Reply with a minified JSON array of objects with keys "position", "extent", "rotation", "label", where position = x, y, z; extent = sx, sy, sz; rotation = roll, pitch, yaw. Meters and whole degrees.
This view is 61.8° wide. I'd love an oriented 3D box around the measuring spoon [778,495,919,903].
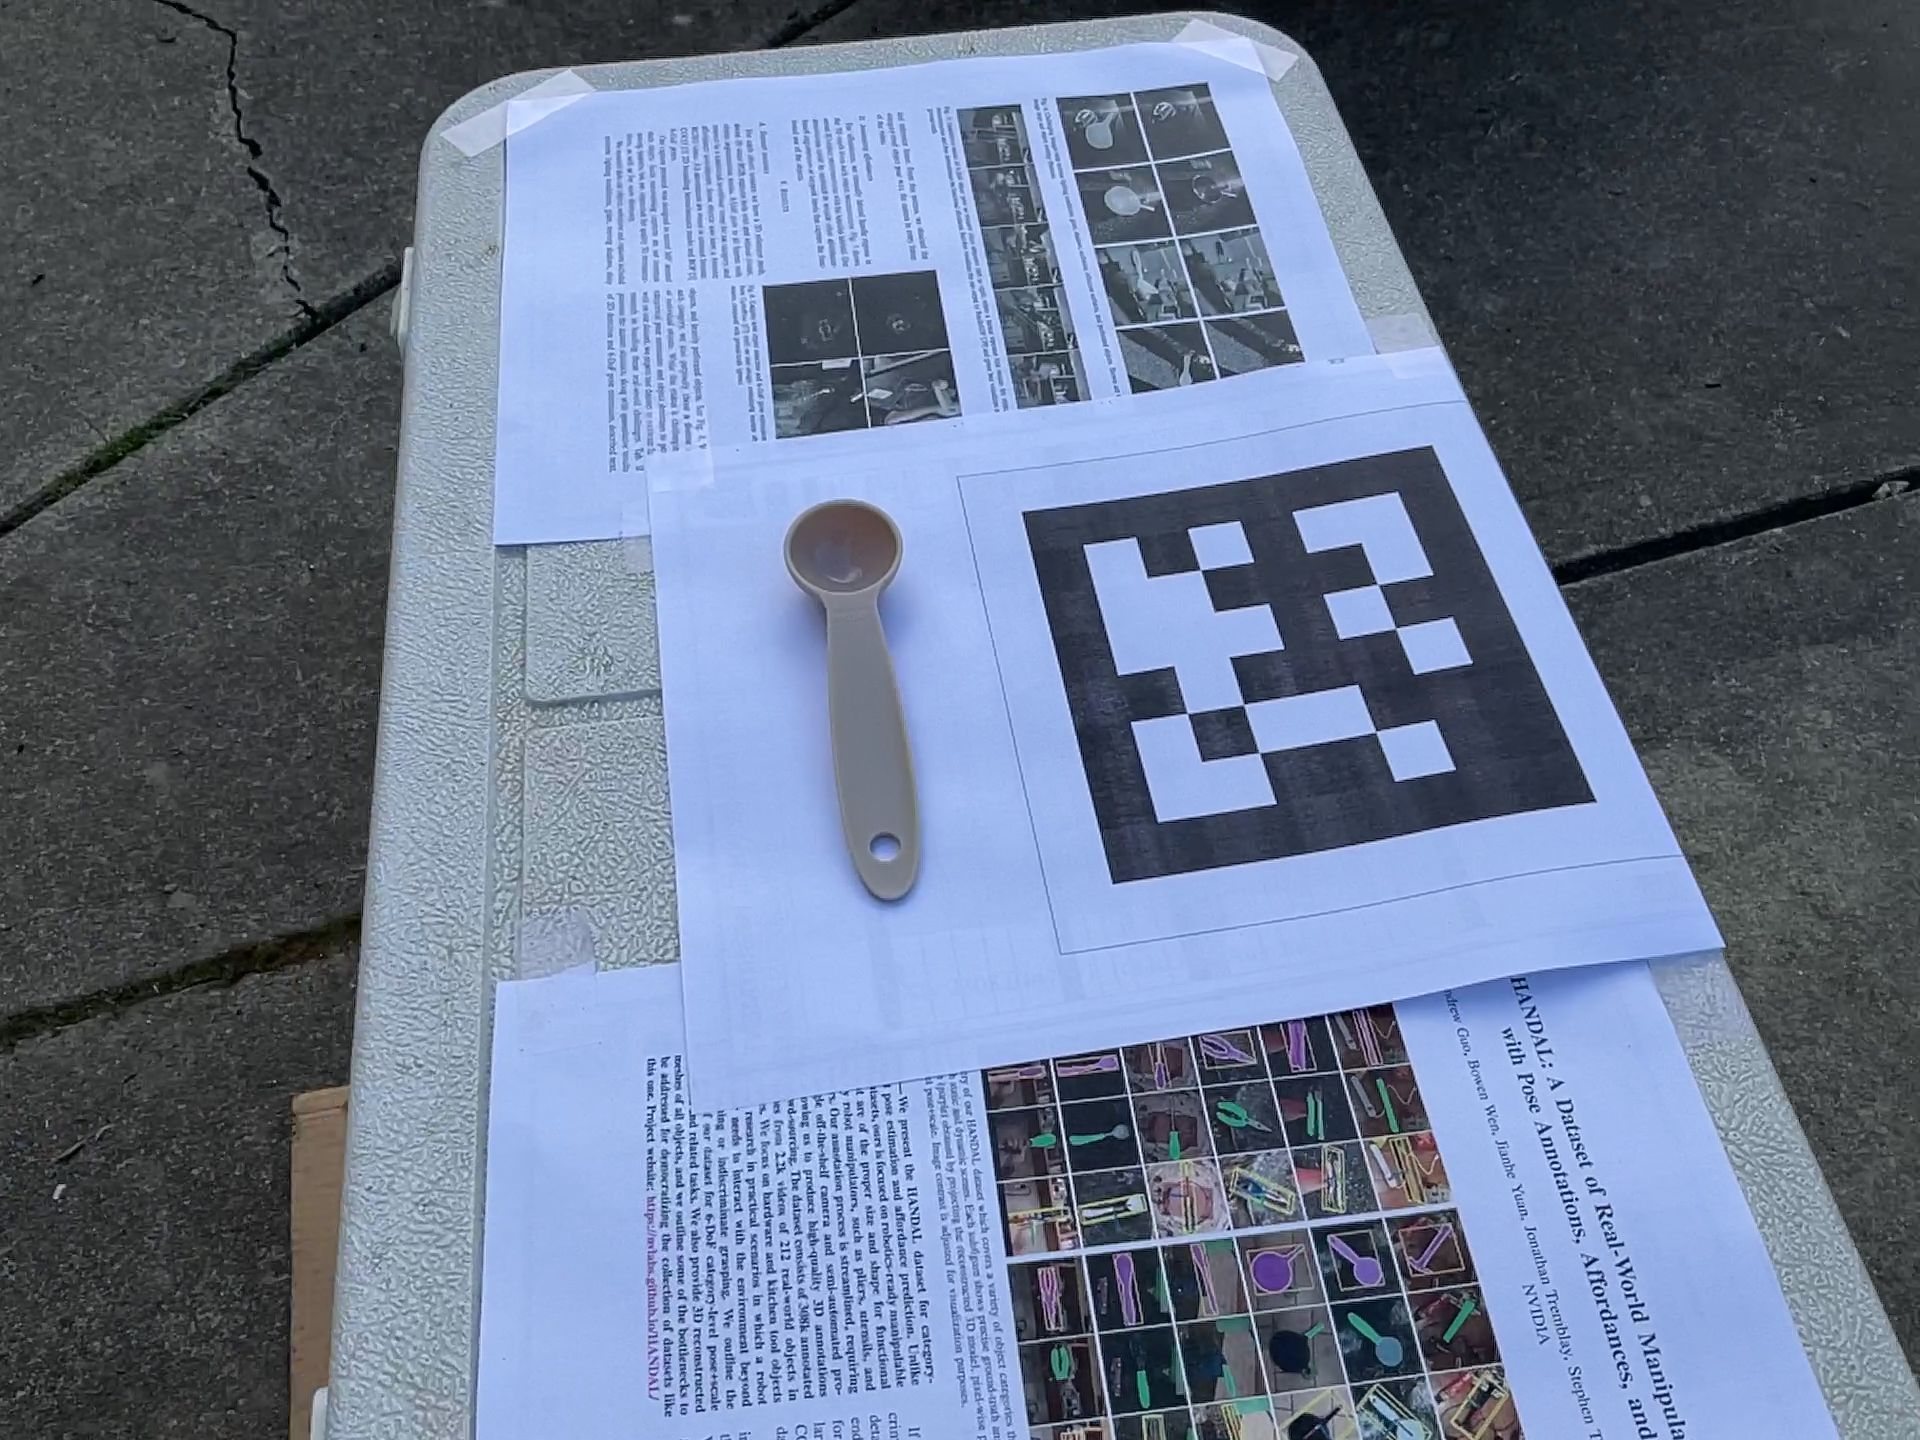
[{"position":[-0.027,-0.007,0.434],"extent":[0.034,0.018,0.124],"rotation":[-7,62,-6],"label":"measuring spoon"}]
